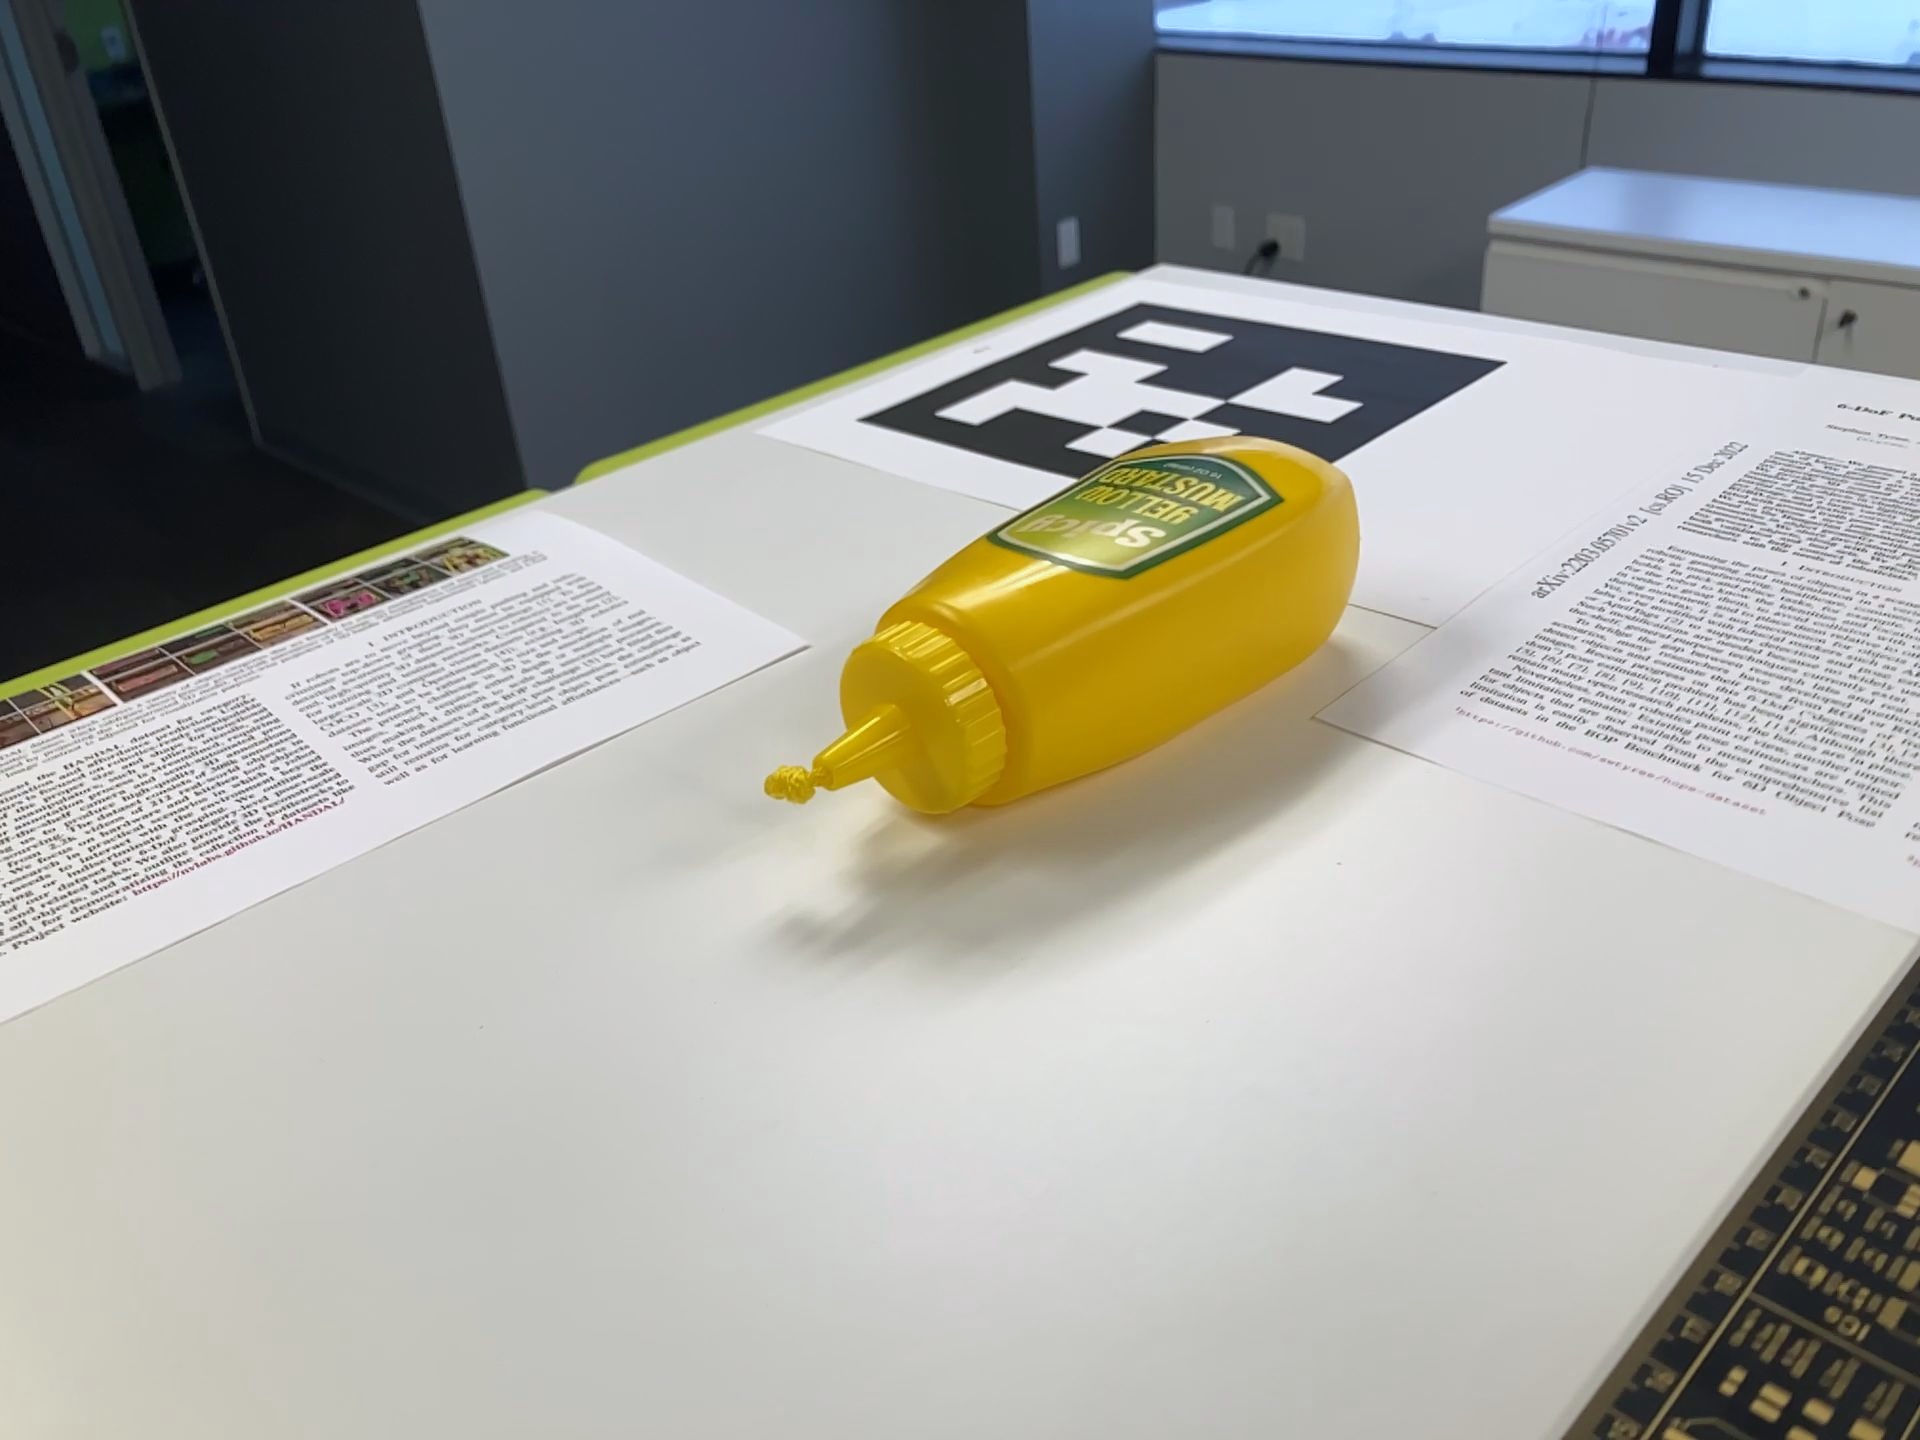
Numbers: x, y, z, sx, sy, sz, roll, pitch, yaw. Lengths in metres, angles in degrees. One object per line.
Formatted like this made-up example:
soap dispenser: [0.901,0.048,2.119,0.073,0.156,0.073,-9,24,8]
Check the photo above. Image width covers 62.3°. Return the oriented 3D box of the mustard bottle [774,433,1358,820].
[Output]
mustard bottle: [0.023,-0.018,0.347,0.065,0.049,0.160,21,39,40]
